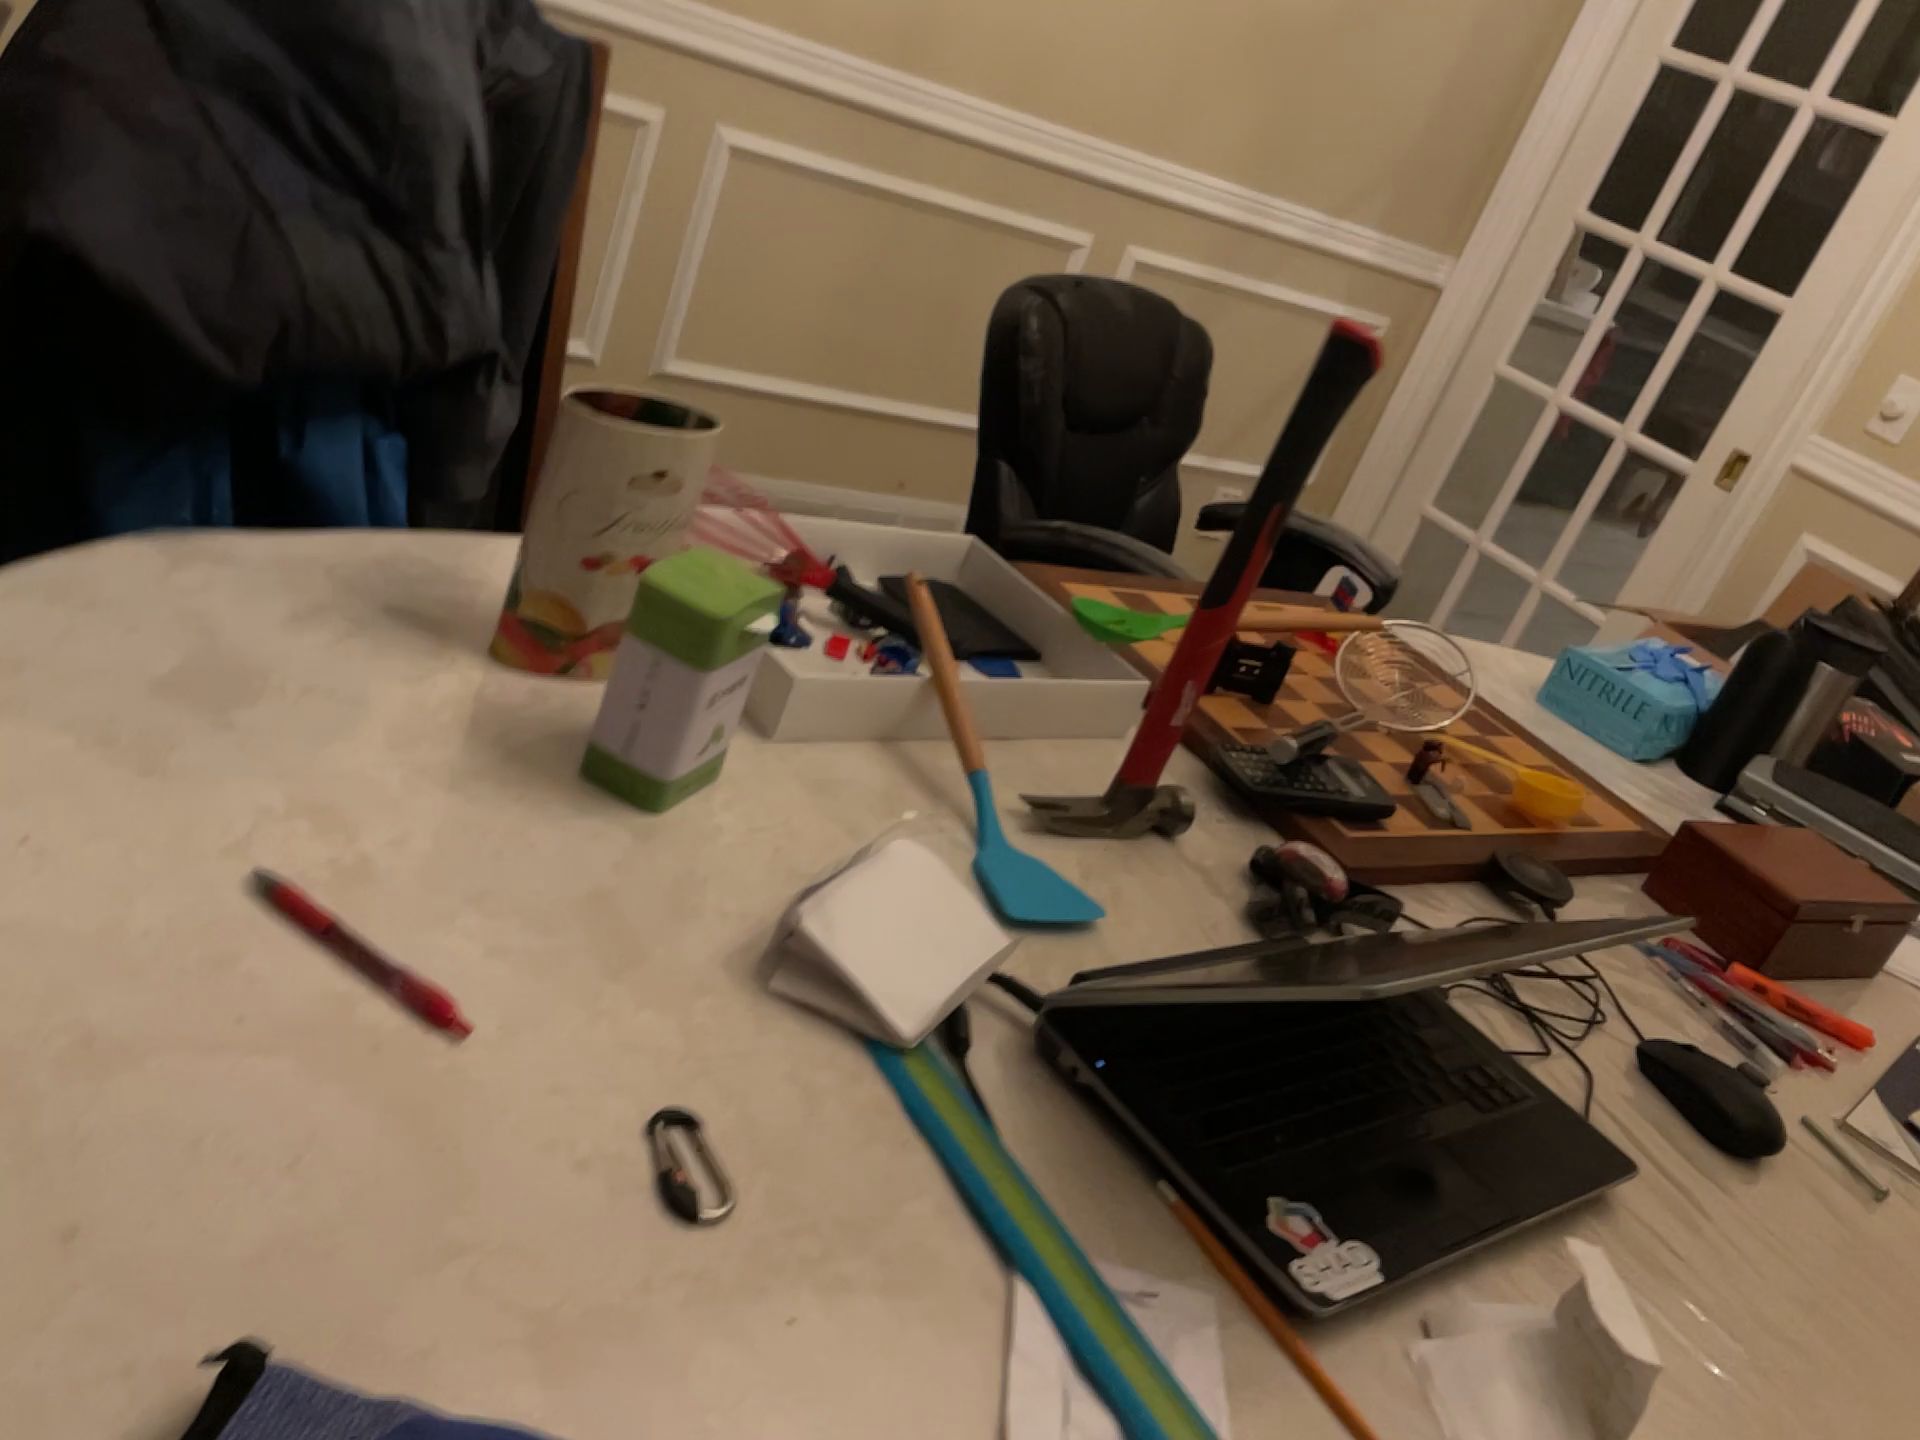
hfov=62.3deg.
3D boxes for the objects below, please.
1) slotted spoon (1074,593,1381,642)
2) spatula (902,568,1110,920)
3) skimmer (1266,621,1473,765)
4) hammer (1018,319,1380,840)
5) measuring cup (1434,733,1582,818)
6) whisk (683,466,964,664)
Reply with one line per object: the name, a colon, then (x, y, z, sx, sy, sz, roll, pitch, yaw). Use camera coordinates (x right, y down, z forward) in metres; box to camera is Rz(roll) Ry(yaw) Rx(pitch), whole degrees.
slotted spoon: (0.238, -0.085, 1.384, 0.313, 0.031, 0.070, 0, 30, -24)
spatula: (0.011, 0.011, 1.088, 0.082, 0.044, 0.318, 4, 51, -32)
skimmer: (0.350, -0.023, 1.383, 0.127, 0.090, 0.362, 35, 23, 22)
hammer: (0.167, -0.084, 1.065, 0.143, 0.386, 0.038, 4, 30, -35)
measuring cup: (0.495, 0.050, 1.458, 0.062, 0.029, 0.157, -1, 21, -36)
whisk: (-0.120, -0.117, 1.252, 0.295, 0.073, 0.073, 29, 40, -20)
